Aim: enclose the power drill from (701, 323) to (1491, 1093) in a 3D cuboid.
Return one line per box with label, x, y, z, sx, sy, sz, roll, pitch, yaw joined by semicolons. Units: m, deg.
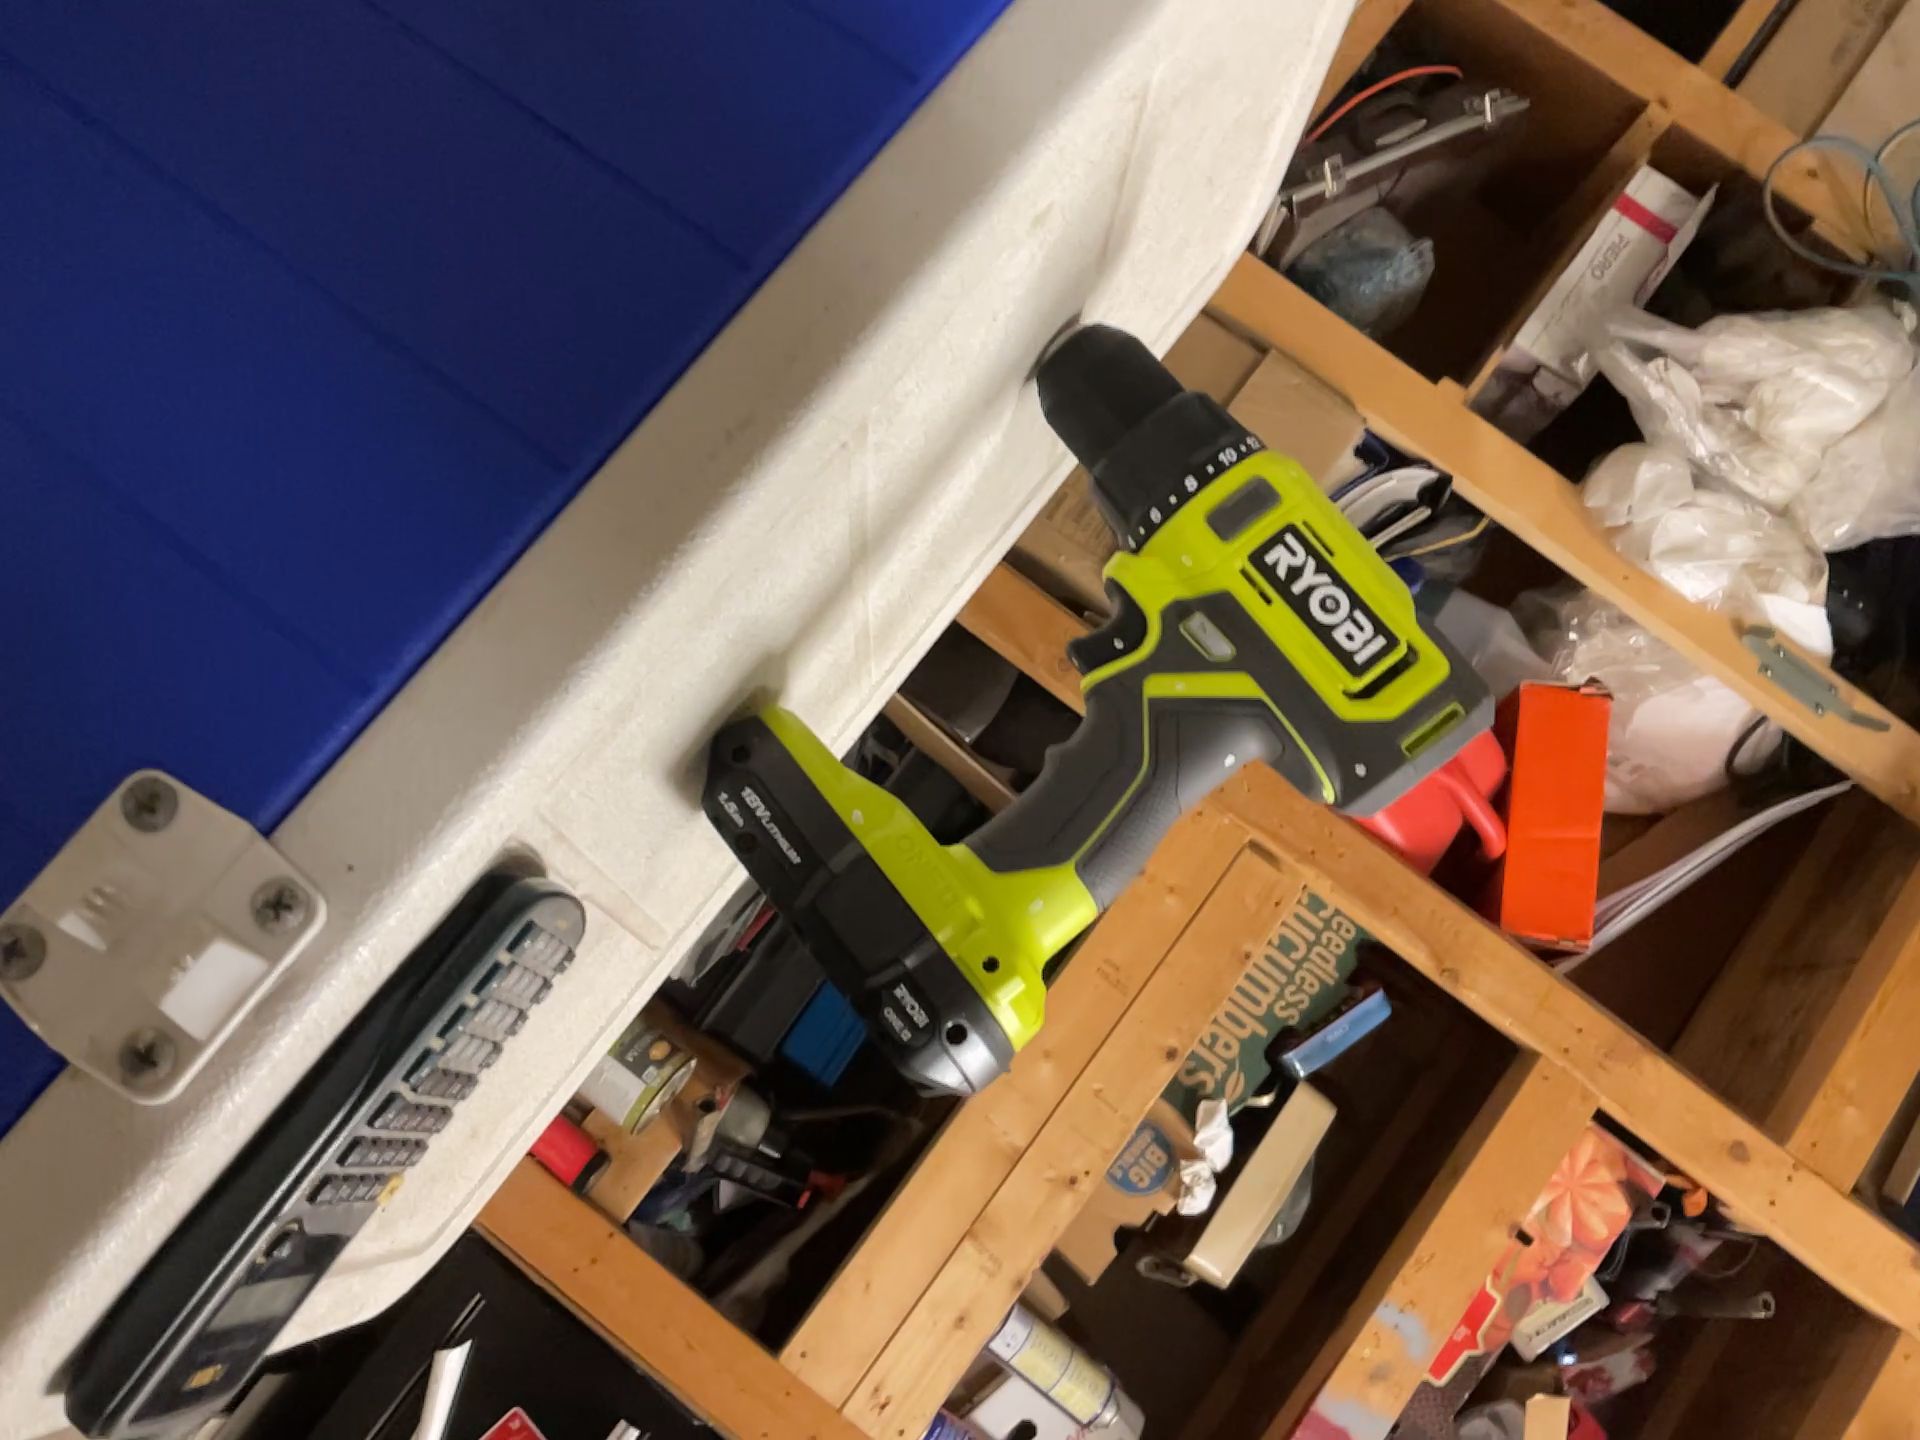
power drill;0.032;-0.008;0.527;0.228;0.190;0.080;-38;171;-9
